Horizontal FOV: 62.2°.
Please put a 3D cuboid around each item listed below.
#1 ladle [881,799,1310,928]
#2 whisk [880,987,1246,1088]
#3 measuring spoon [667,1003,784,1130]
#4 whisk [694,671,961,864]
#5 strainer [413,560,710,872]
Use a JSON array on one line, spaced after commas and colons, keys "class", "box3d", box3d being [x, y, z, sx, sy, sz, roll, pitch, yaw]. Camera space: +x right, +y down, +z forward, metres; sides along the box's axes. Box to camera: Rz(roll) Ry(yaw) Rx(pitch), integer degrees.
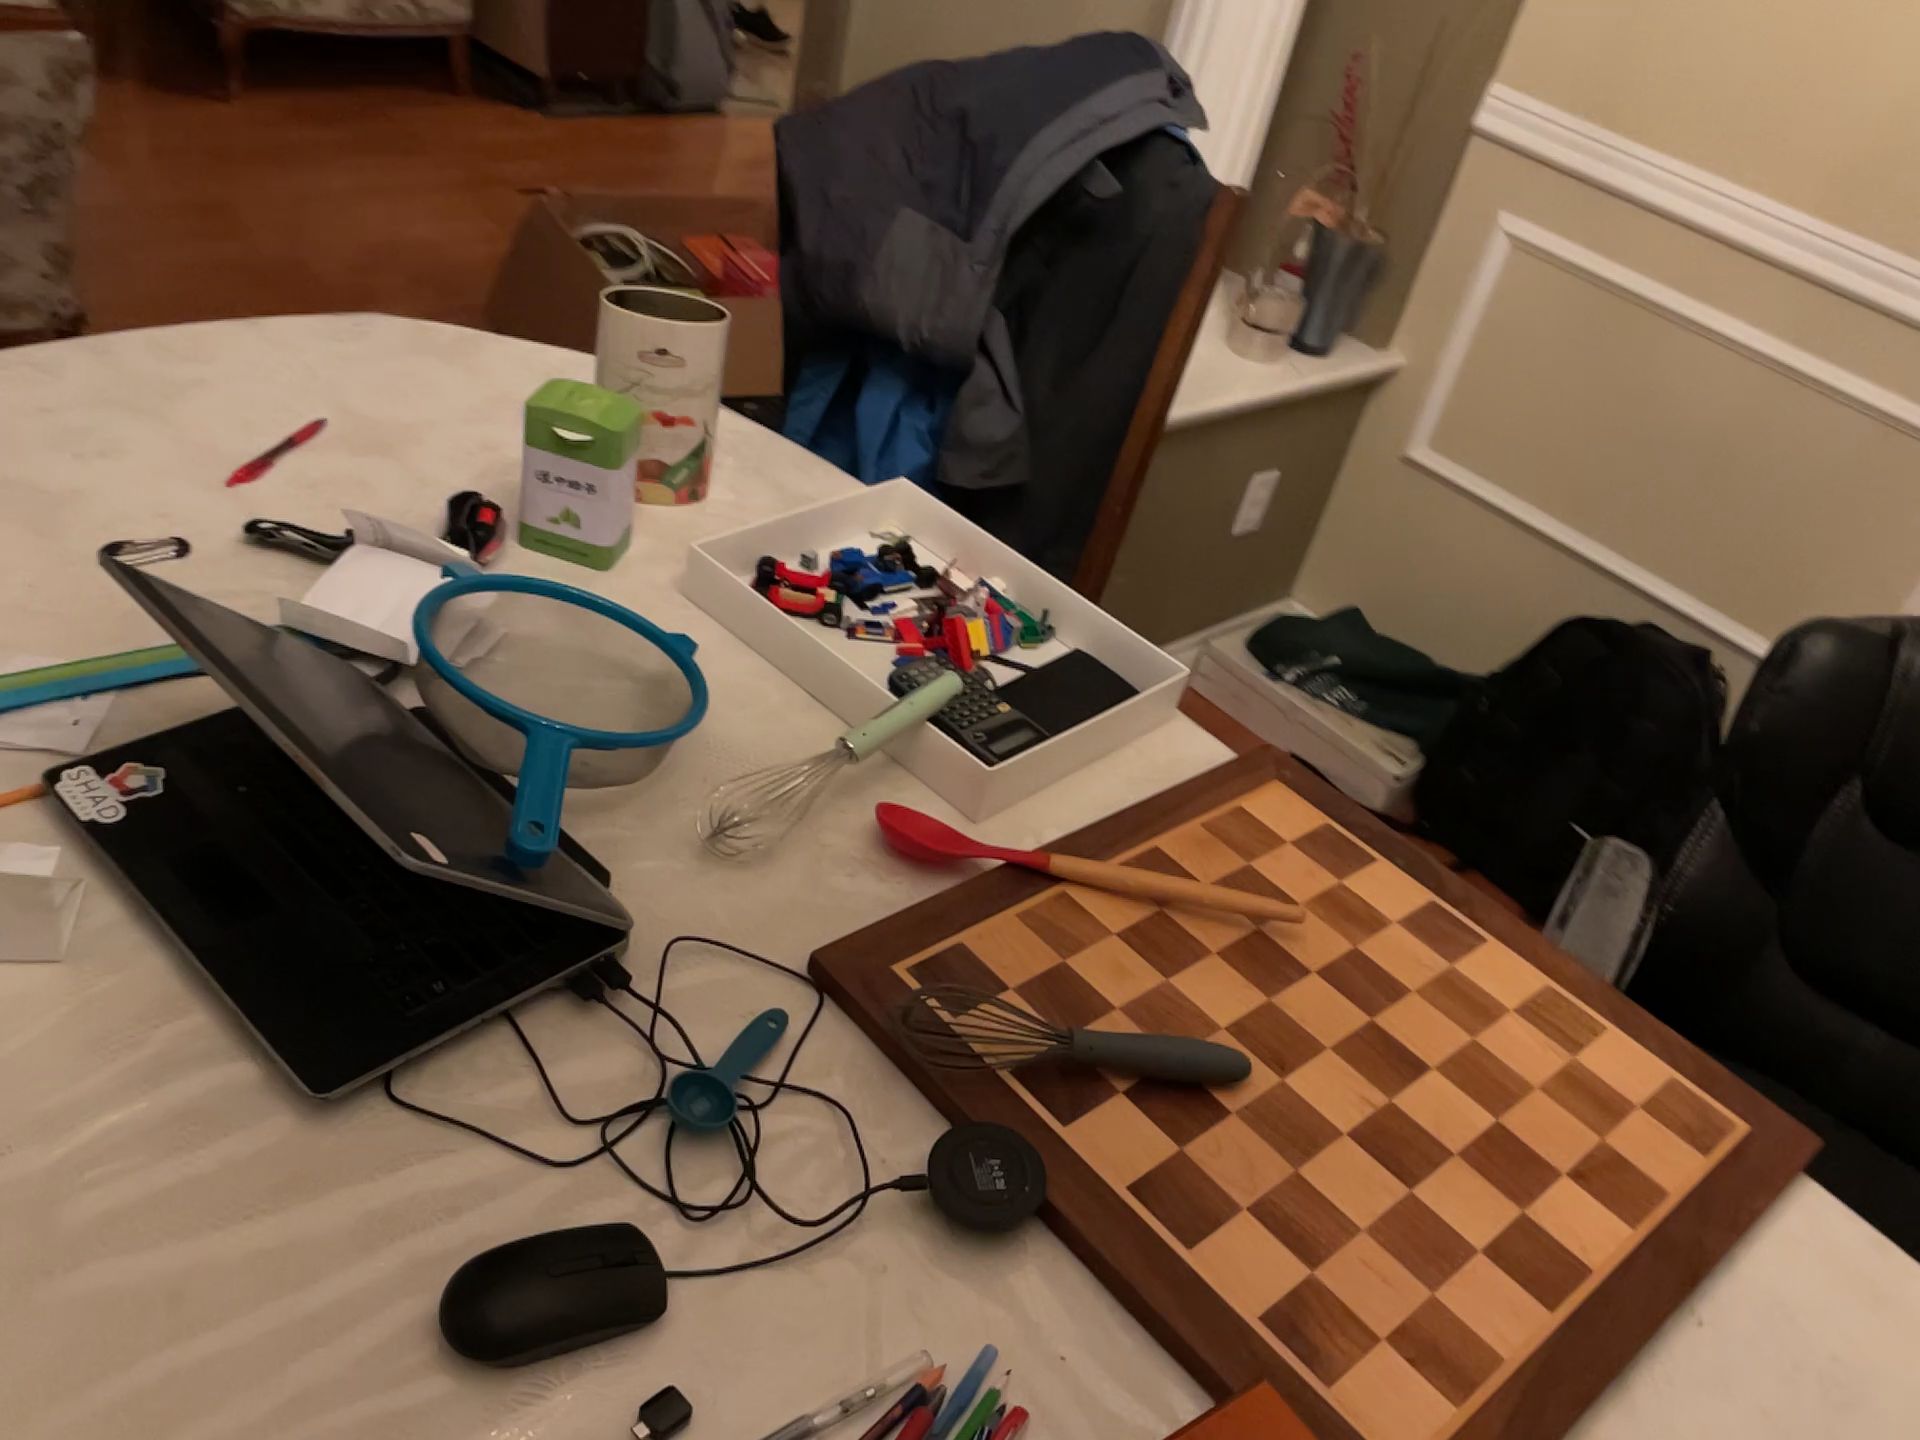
[{"class": "ladle", "box3d": [0.093, 0.107, 1.139, 0.315, 0.031, 0.069, 13, 13, 5]}, {"class": "whisk", "box3d": [0.066, 0.204, 0.987, 0.238, 0.055, 0.055, 11, 48, -12]}, {"class": "measuring spoon", "box3d": [-0.138, 0.208, 0.956, 0.042, 0.021, 0.128, 29, 25, 7]}, {"class": "whisk", "box3d": [-0.091, 0.028, 1.160, 0.246, 0.058, 0.059, -34, 86, -31]}, {"class": "strainer", "box3d": [-0.286, 0.021, 1.084, 0.210, 0.095, 0.341, 18, 28, -18]}]
